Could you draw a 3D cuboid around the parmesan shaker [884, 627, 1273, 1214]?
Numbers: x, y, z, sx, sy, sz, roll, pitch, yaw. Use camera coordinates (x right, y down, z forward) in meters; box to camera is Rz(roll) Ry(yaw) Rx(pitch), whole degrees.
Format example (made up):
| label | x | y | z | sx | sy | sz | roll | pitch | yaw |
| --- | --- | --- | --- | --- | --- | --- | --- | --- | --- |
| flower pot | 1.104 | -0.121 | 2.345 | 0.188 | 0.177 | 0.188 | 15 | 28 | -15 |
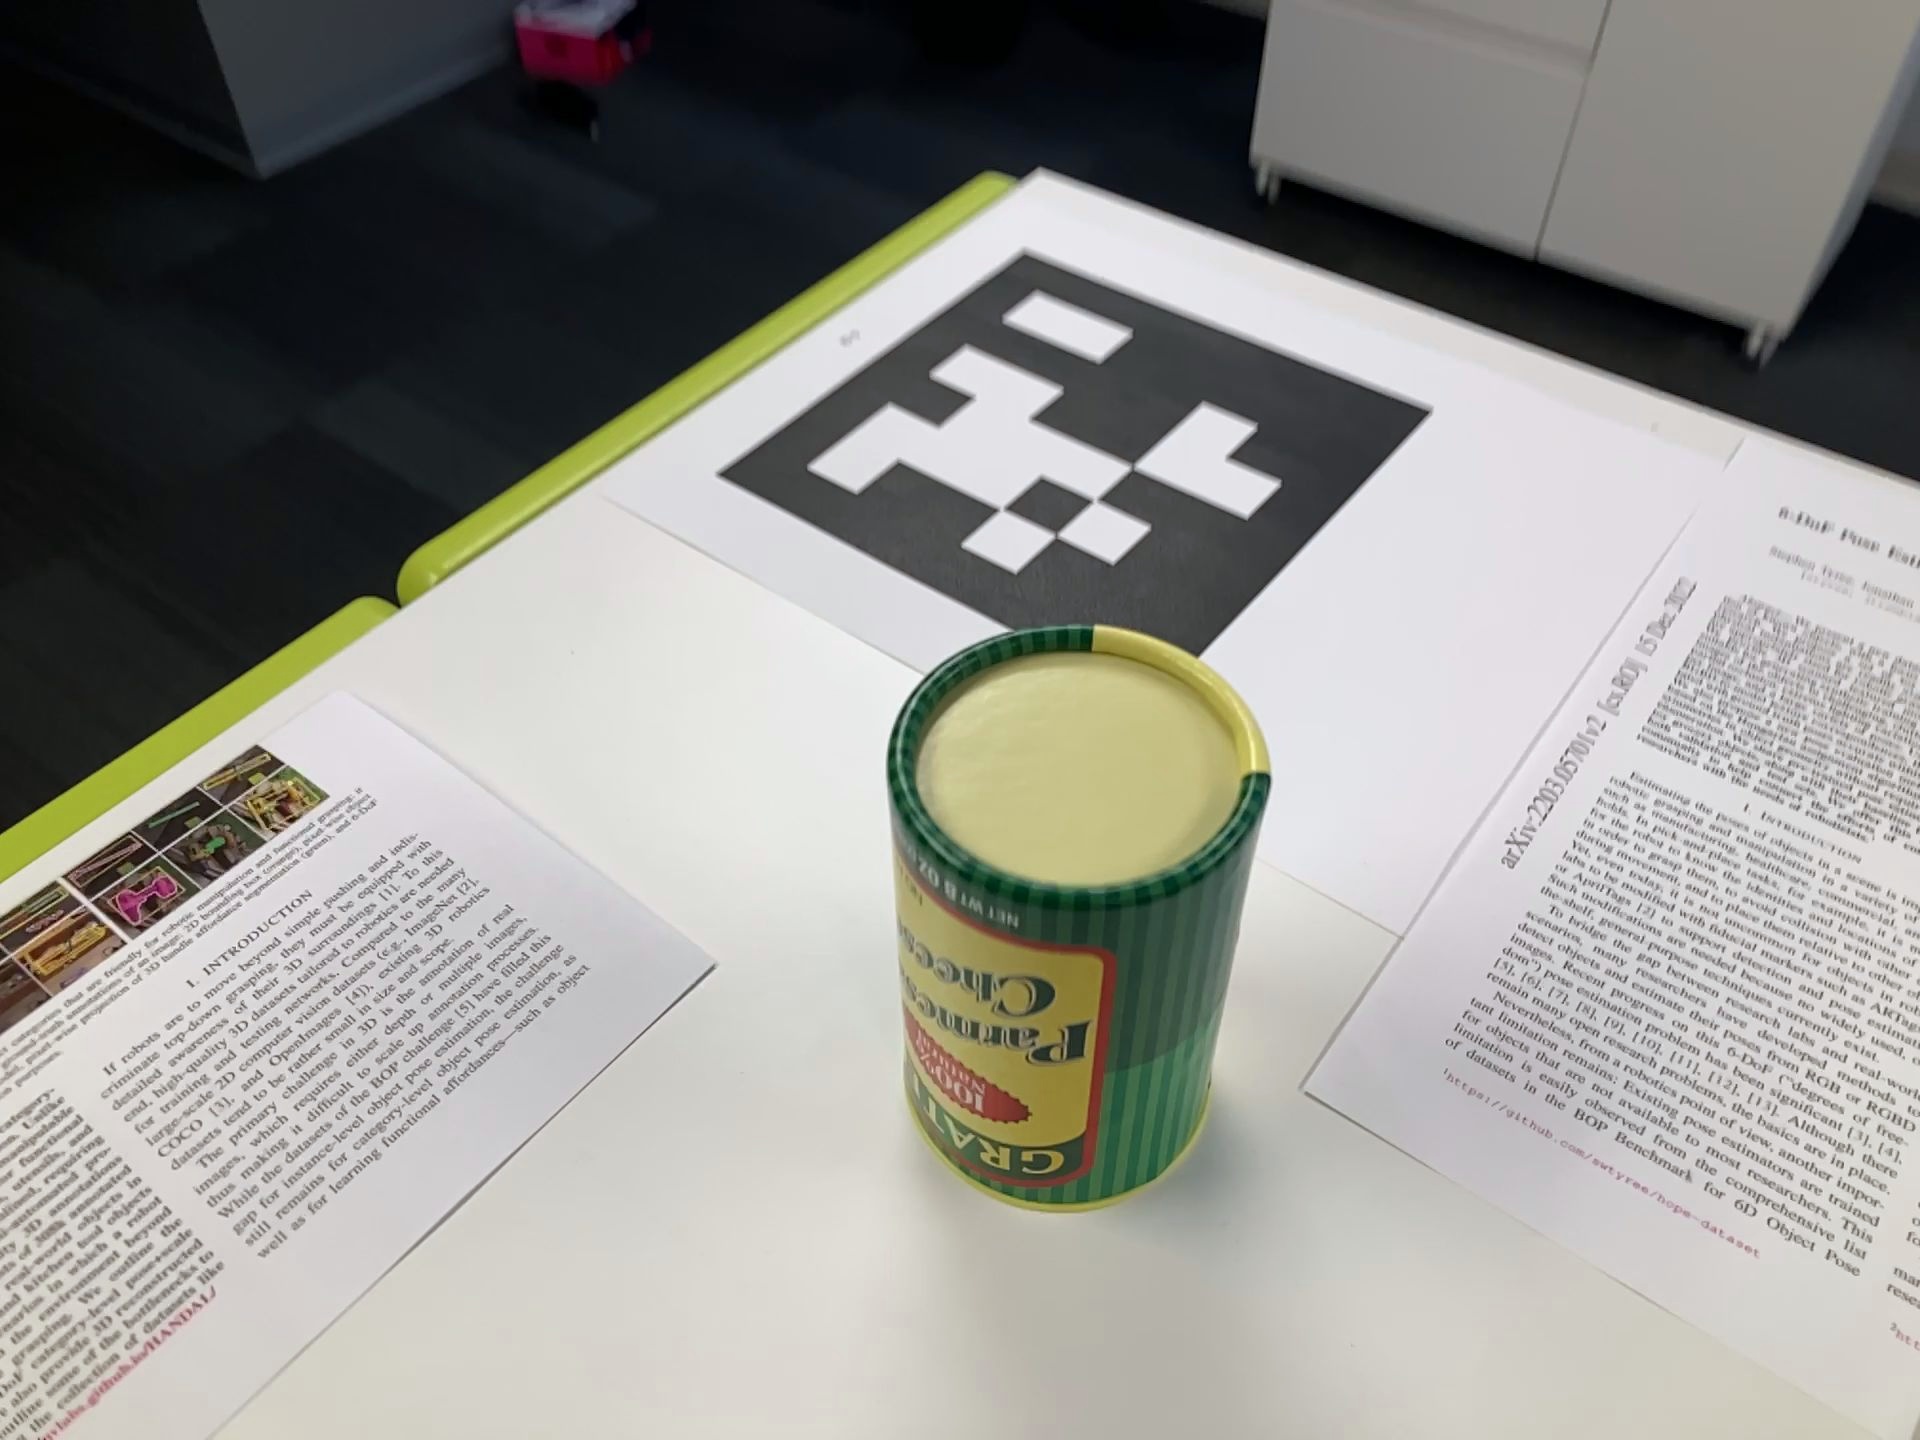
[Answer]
| label | x | y | z | sx | sy | sz | roll | pitch | yaw |
| --- | --- | --- | --- | --- | --- | --- | --- | --- | --- |
| parmesan shaker | 0.018 | 0.039 | 0.307 | 0.071 | 0.103 | 0.071 | -1 | 47 | 1 |
